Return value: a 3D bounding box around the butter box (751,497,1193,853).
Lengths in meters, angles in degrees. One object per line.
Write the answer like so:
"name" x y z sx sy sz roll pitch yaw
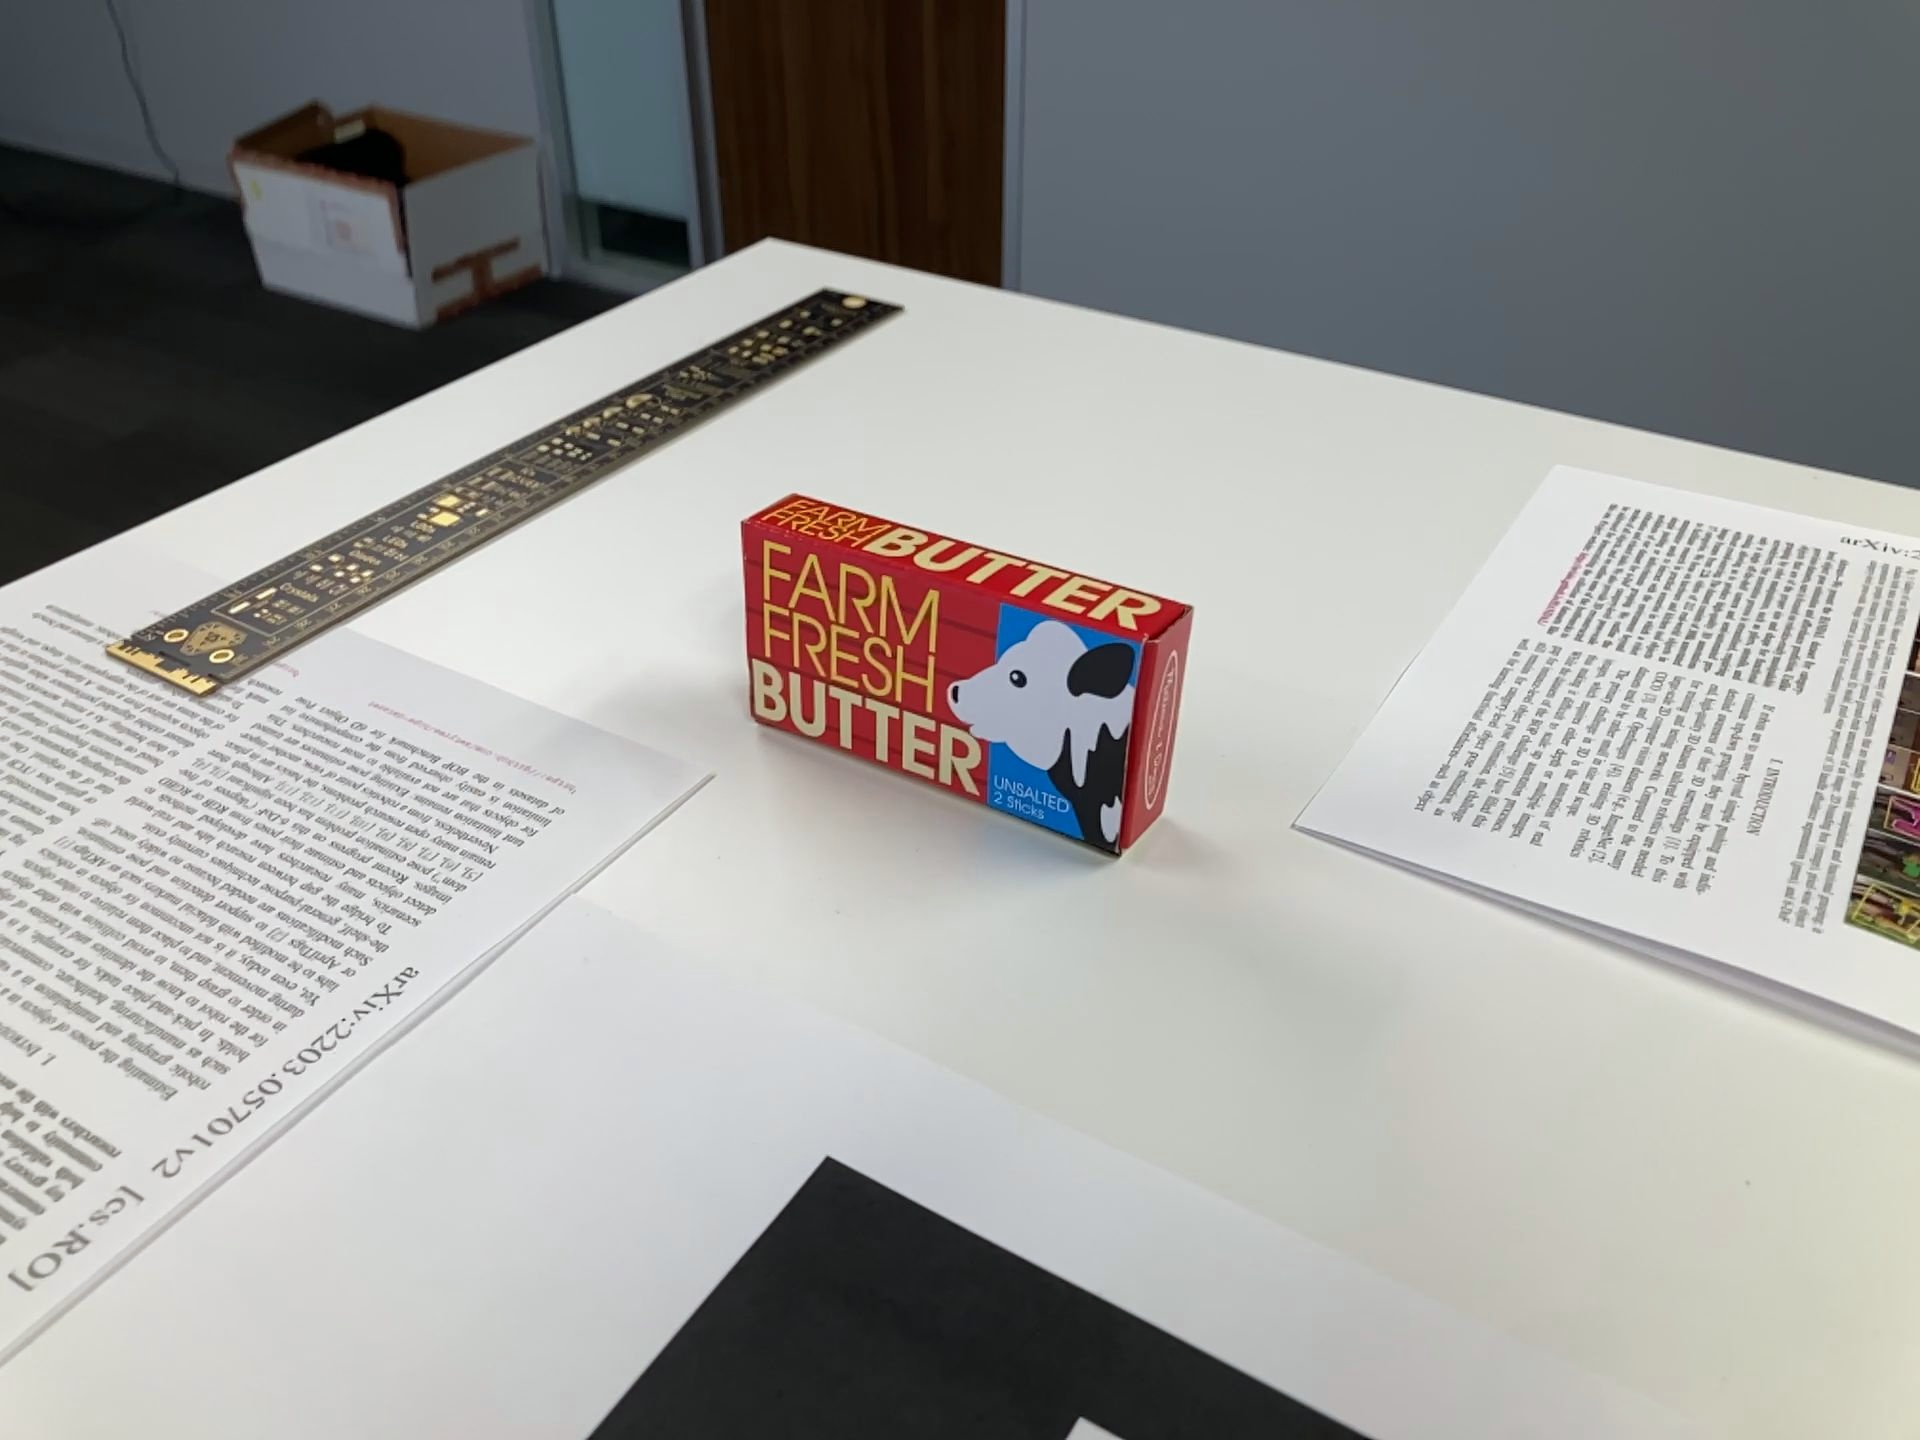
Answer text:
"butter box" -0.001 -0.013 0.361 0.103 0.053 0.024 20 34 25
